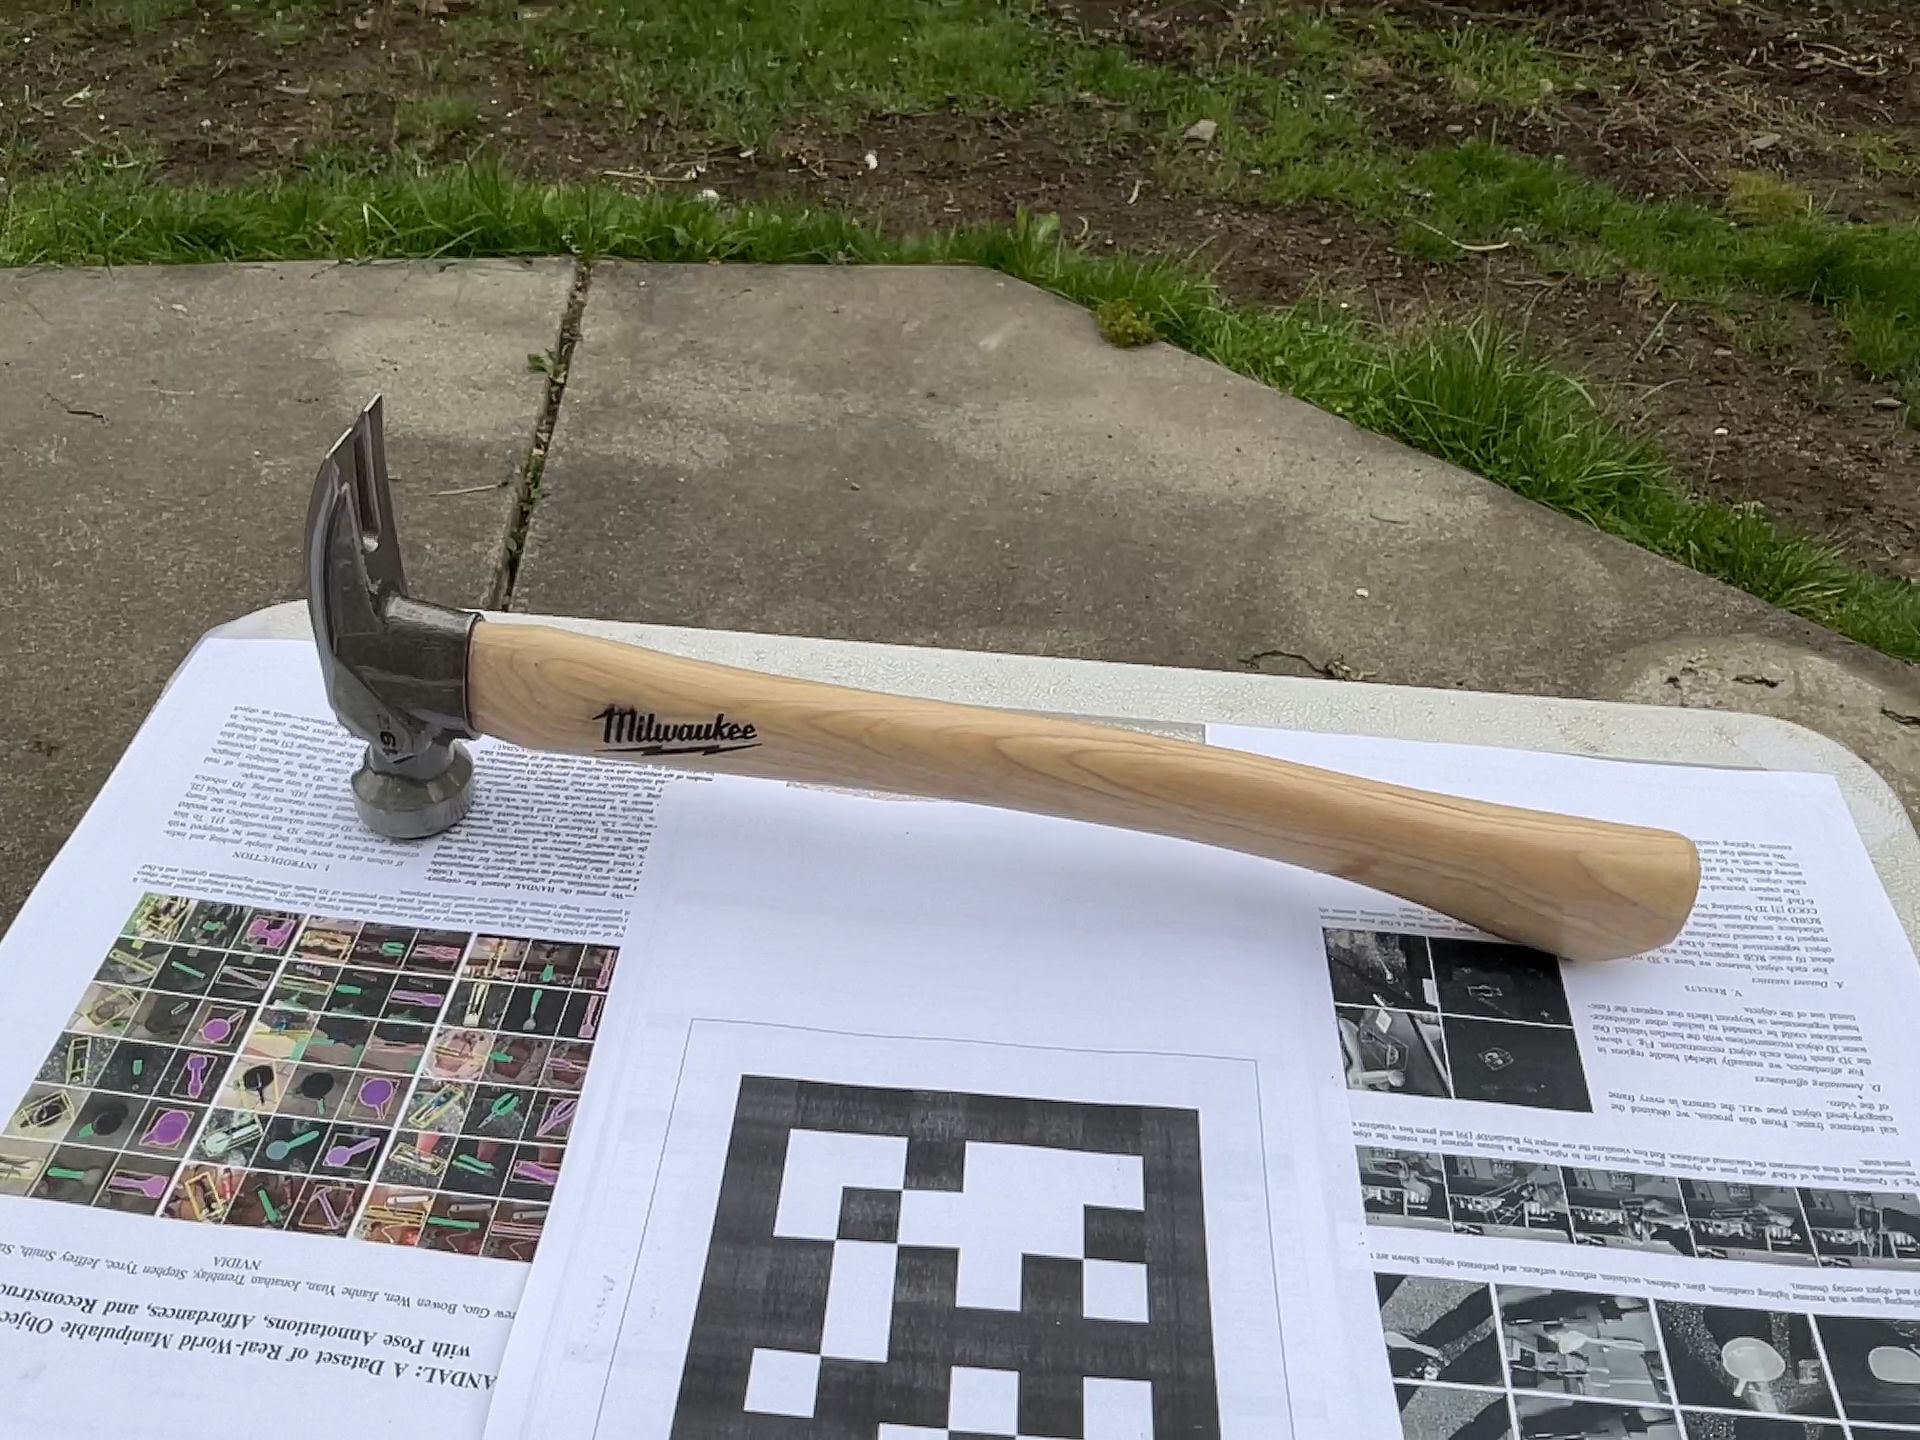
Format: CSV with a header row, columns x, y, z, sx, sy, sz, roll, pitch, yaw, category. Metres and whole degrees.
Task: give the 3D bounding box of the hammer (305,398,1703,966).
x,y,z,sx,sy,sz,roll,pitch,yaw,category
0.015,0.007,0.473,0.410,0.146,0.038,10,43,0,hammer
